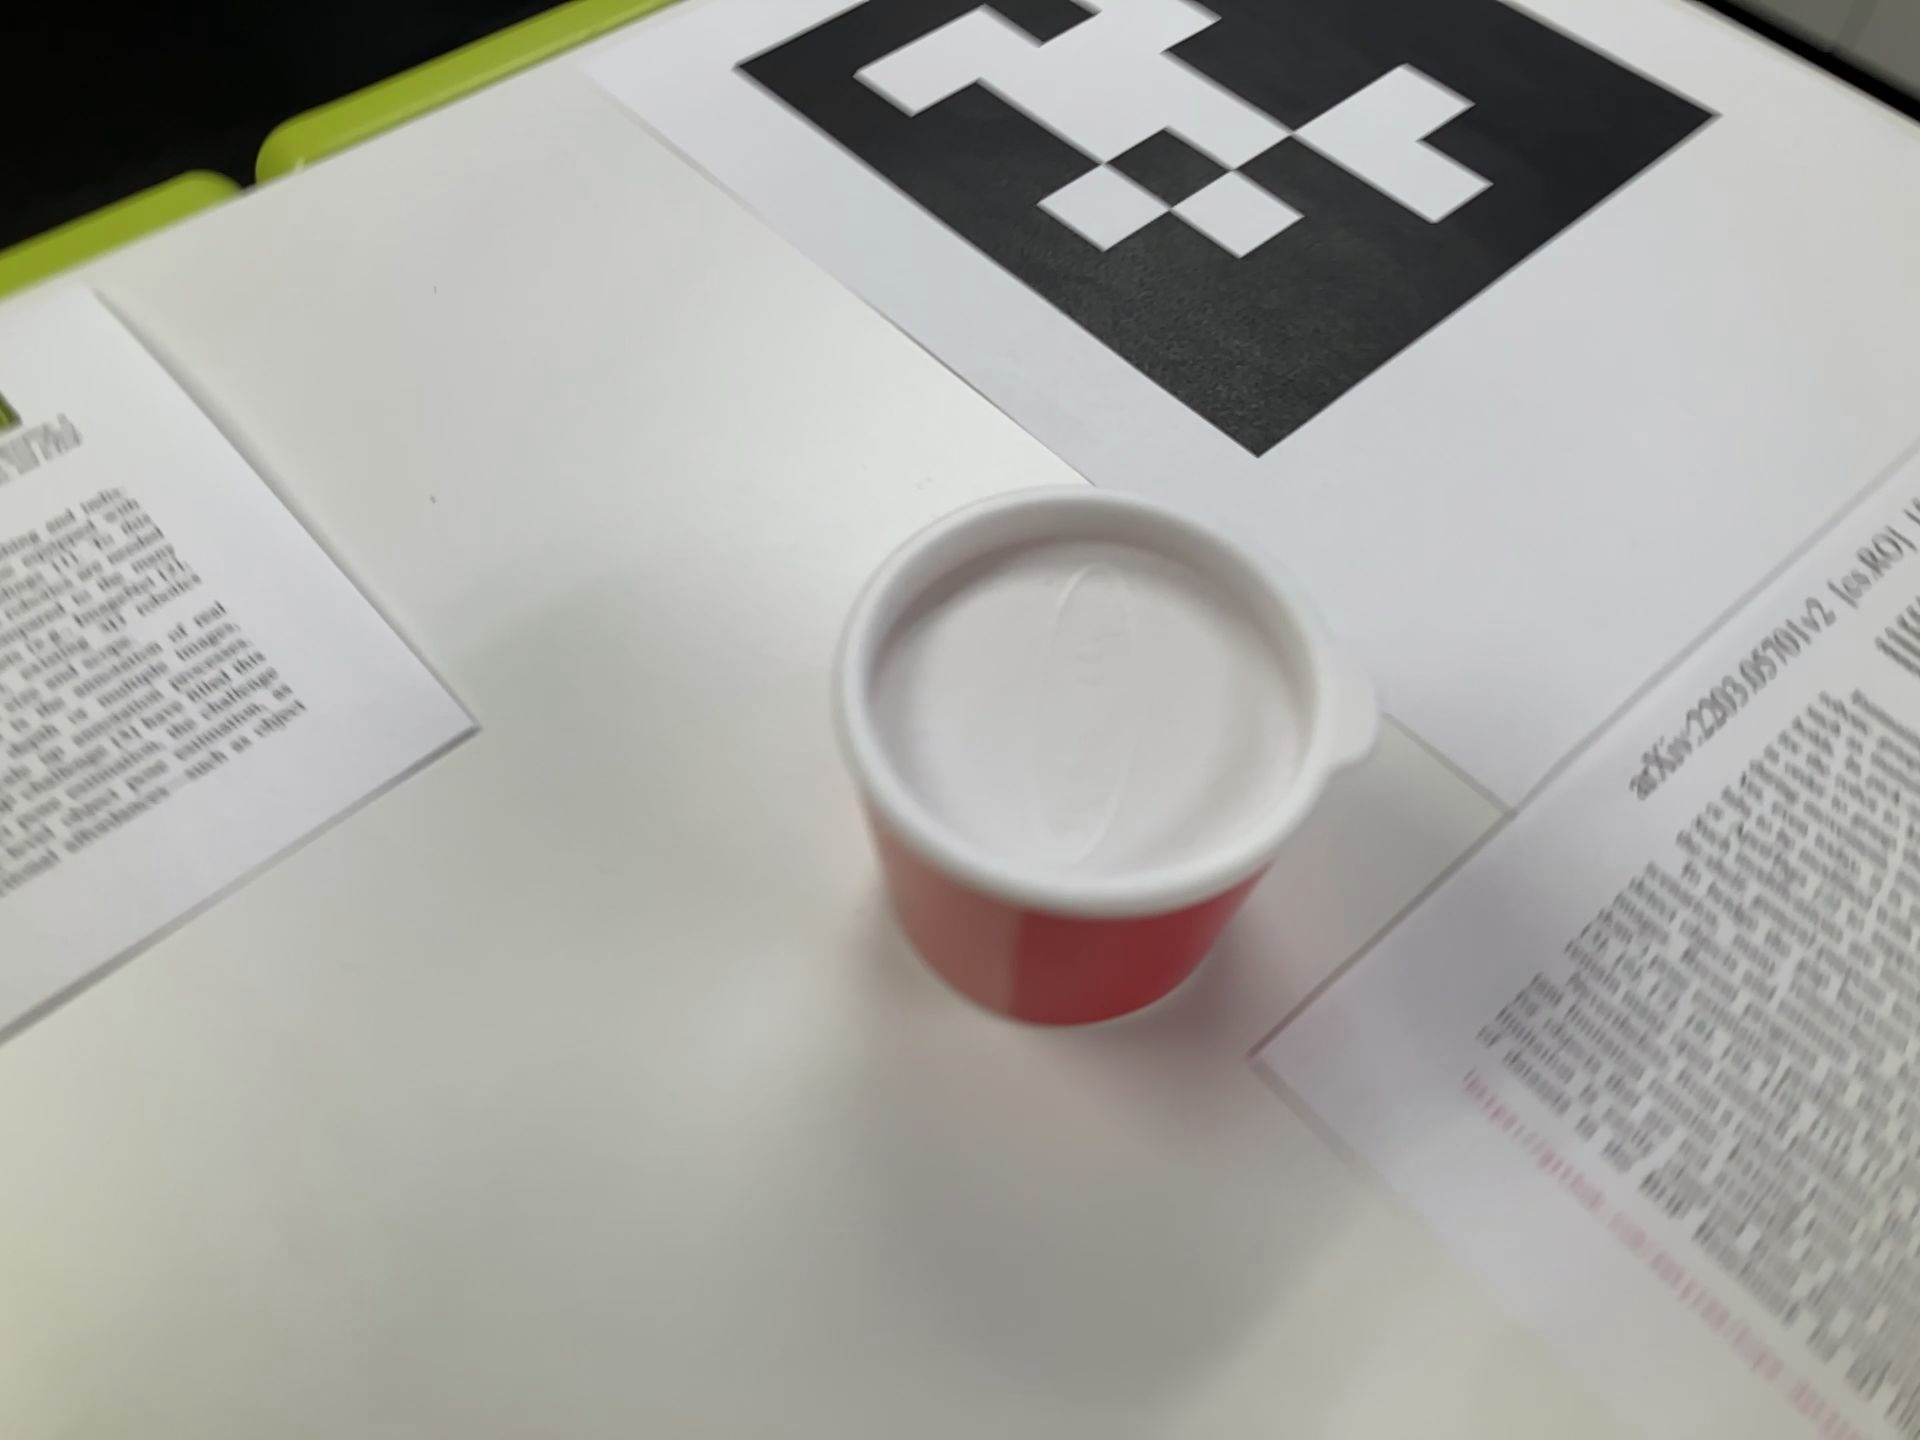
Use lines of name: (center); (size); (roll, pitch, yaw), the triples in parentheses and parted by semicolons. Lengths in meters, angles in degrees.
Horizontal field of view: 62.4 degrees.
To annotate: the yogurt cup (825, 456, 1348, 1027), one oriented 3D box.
yogurt cup: (0.016, 0.008, 0.227); (0.072, 0.054, 0.072); (0, 56, 0)
